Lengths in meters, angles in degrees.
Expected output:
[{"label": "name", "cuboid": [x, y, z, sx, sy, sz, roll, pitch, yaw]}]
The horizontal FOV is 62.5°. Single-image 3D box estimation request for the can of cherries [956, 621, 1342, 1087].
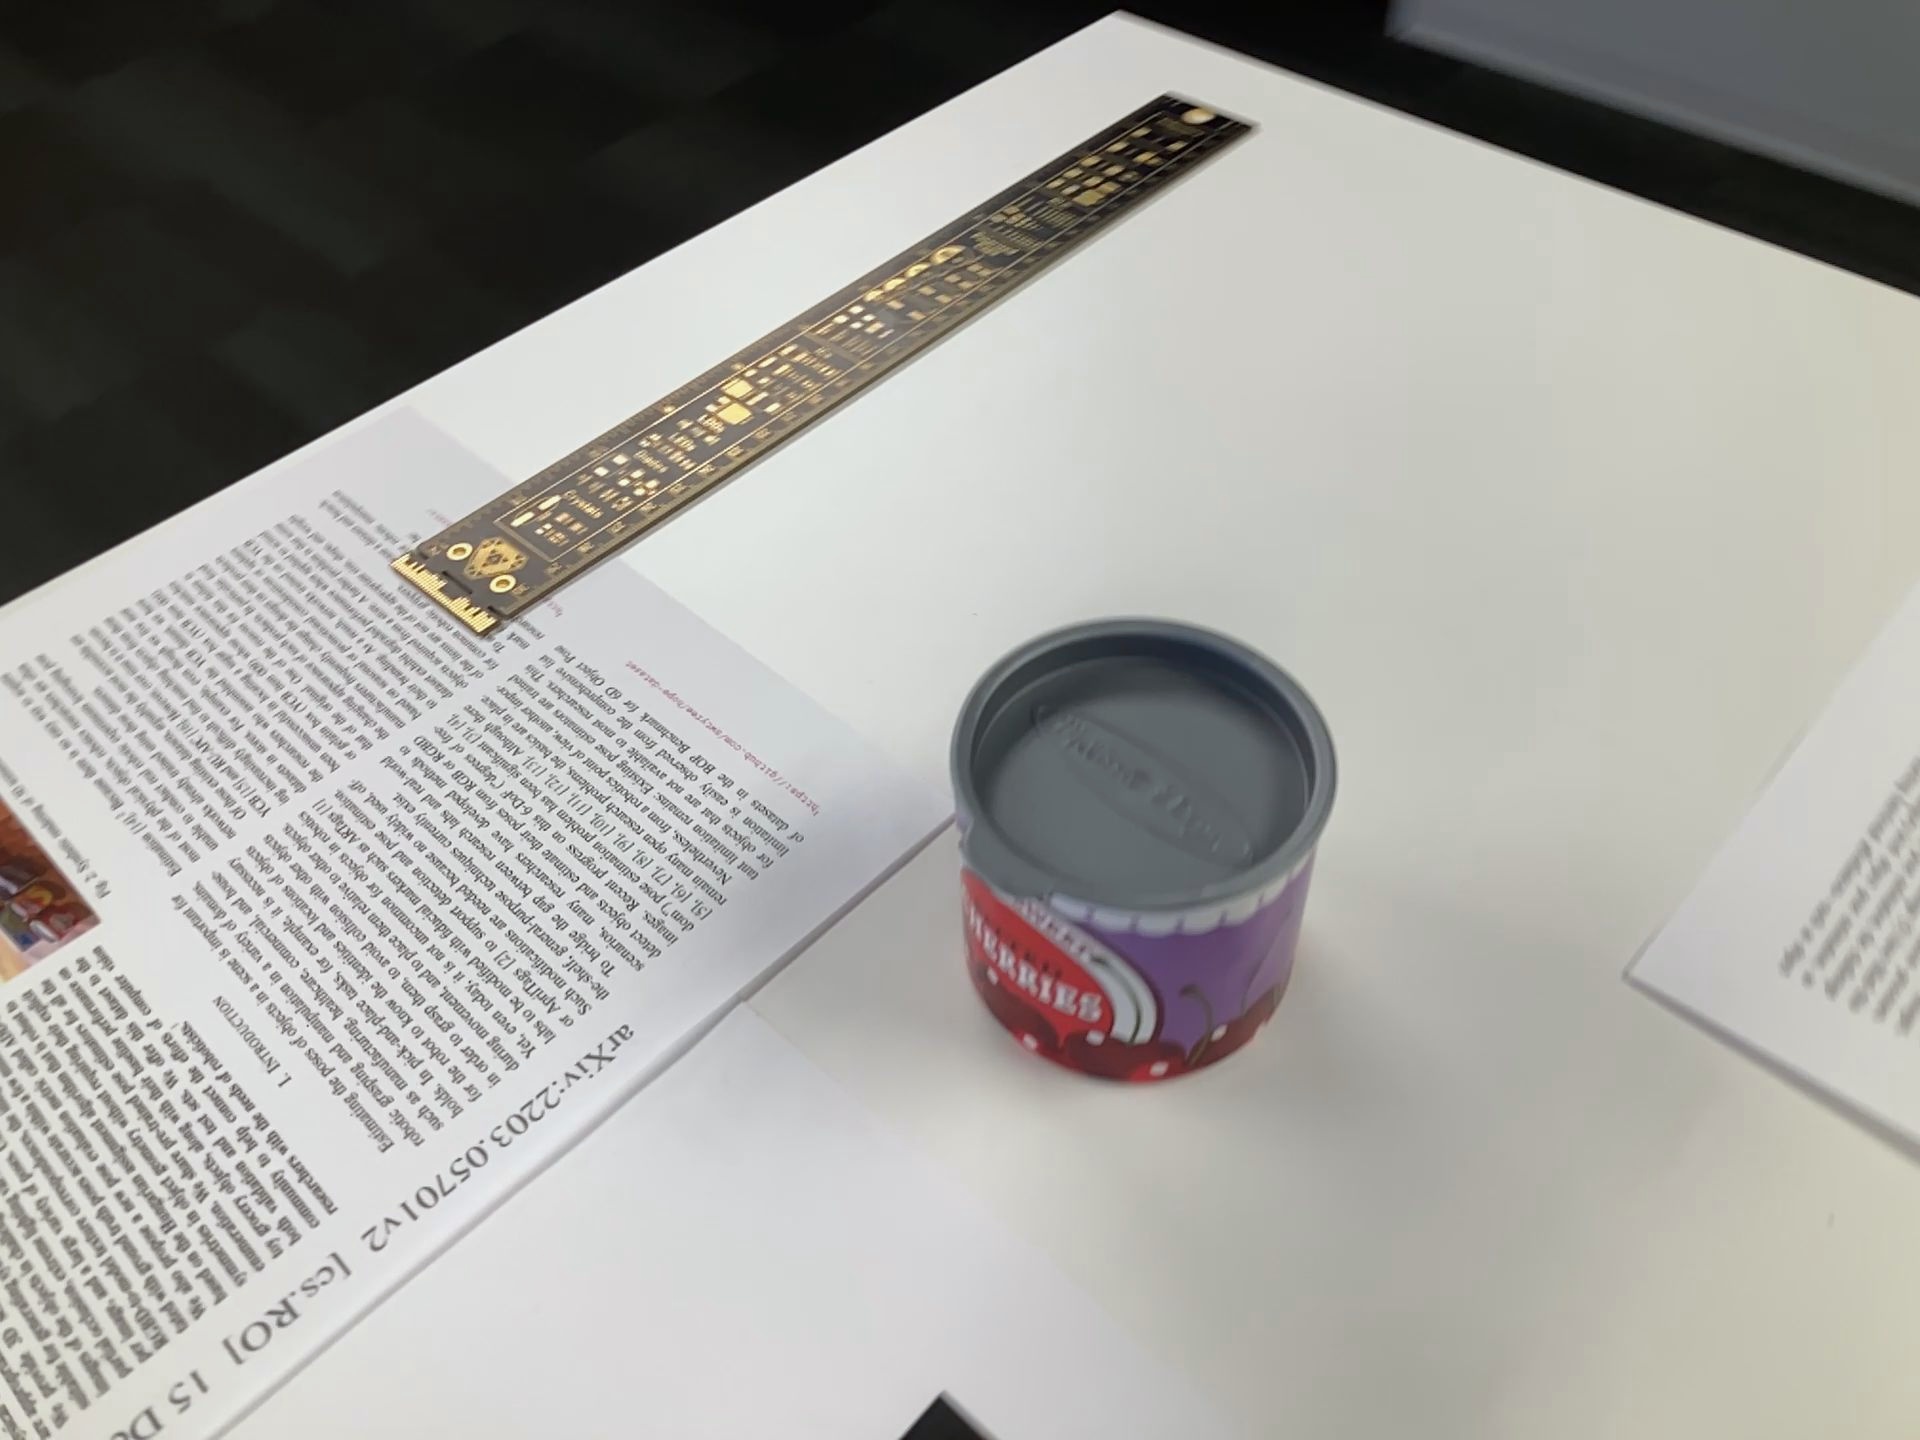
[{"label": "can of cherries", "cuboid": [0.031, 0.026, 0.291, 0.071, 0.058, 0.071, -1, 48, 1]}]
